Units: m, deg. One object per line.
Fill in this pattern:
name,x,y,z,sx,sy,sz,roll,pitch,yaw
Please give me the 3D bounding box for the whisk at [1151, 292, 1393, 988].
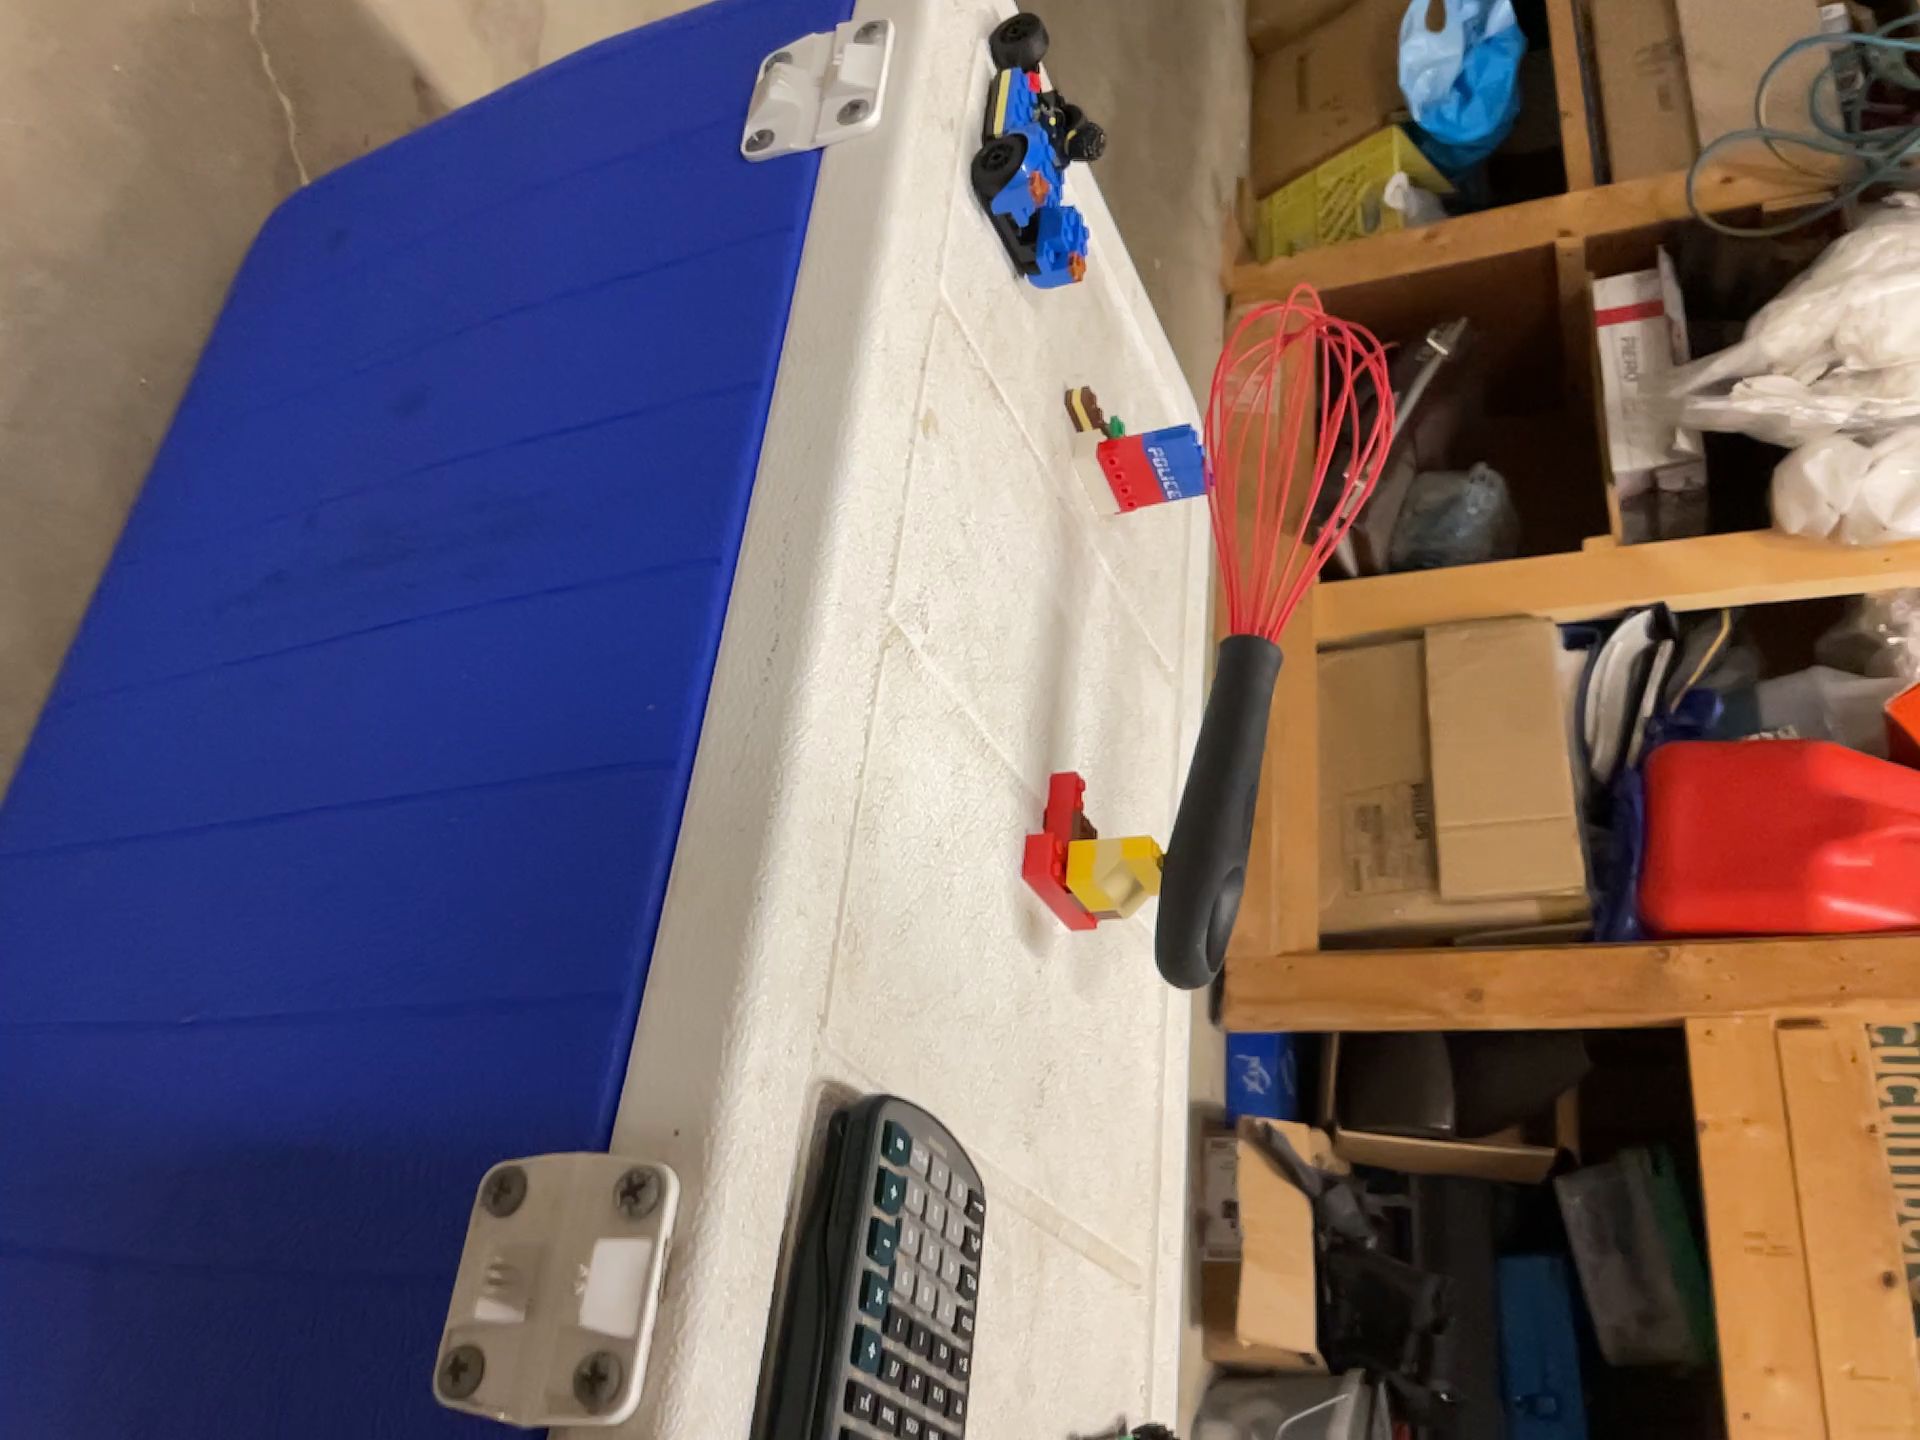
whisk,0.109,-0.041,0.586,0.073,0.073,0.296,56,44,-51
